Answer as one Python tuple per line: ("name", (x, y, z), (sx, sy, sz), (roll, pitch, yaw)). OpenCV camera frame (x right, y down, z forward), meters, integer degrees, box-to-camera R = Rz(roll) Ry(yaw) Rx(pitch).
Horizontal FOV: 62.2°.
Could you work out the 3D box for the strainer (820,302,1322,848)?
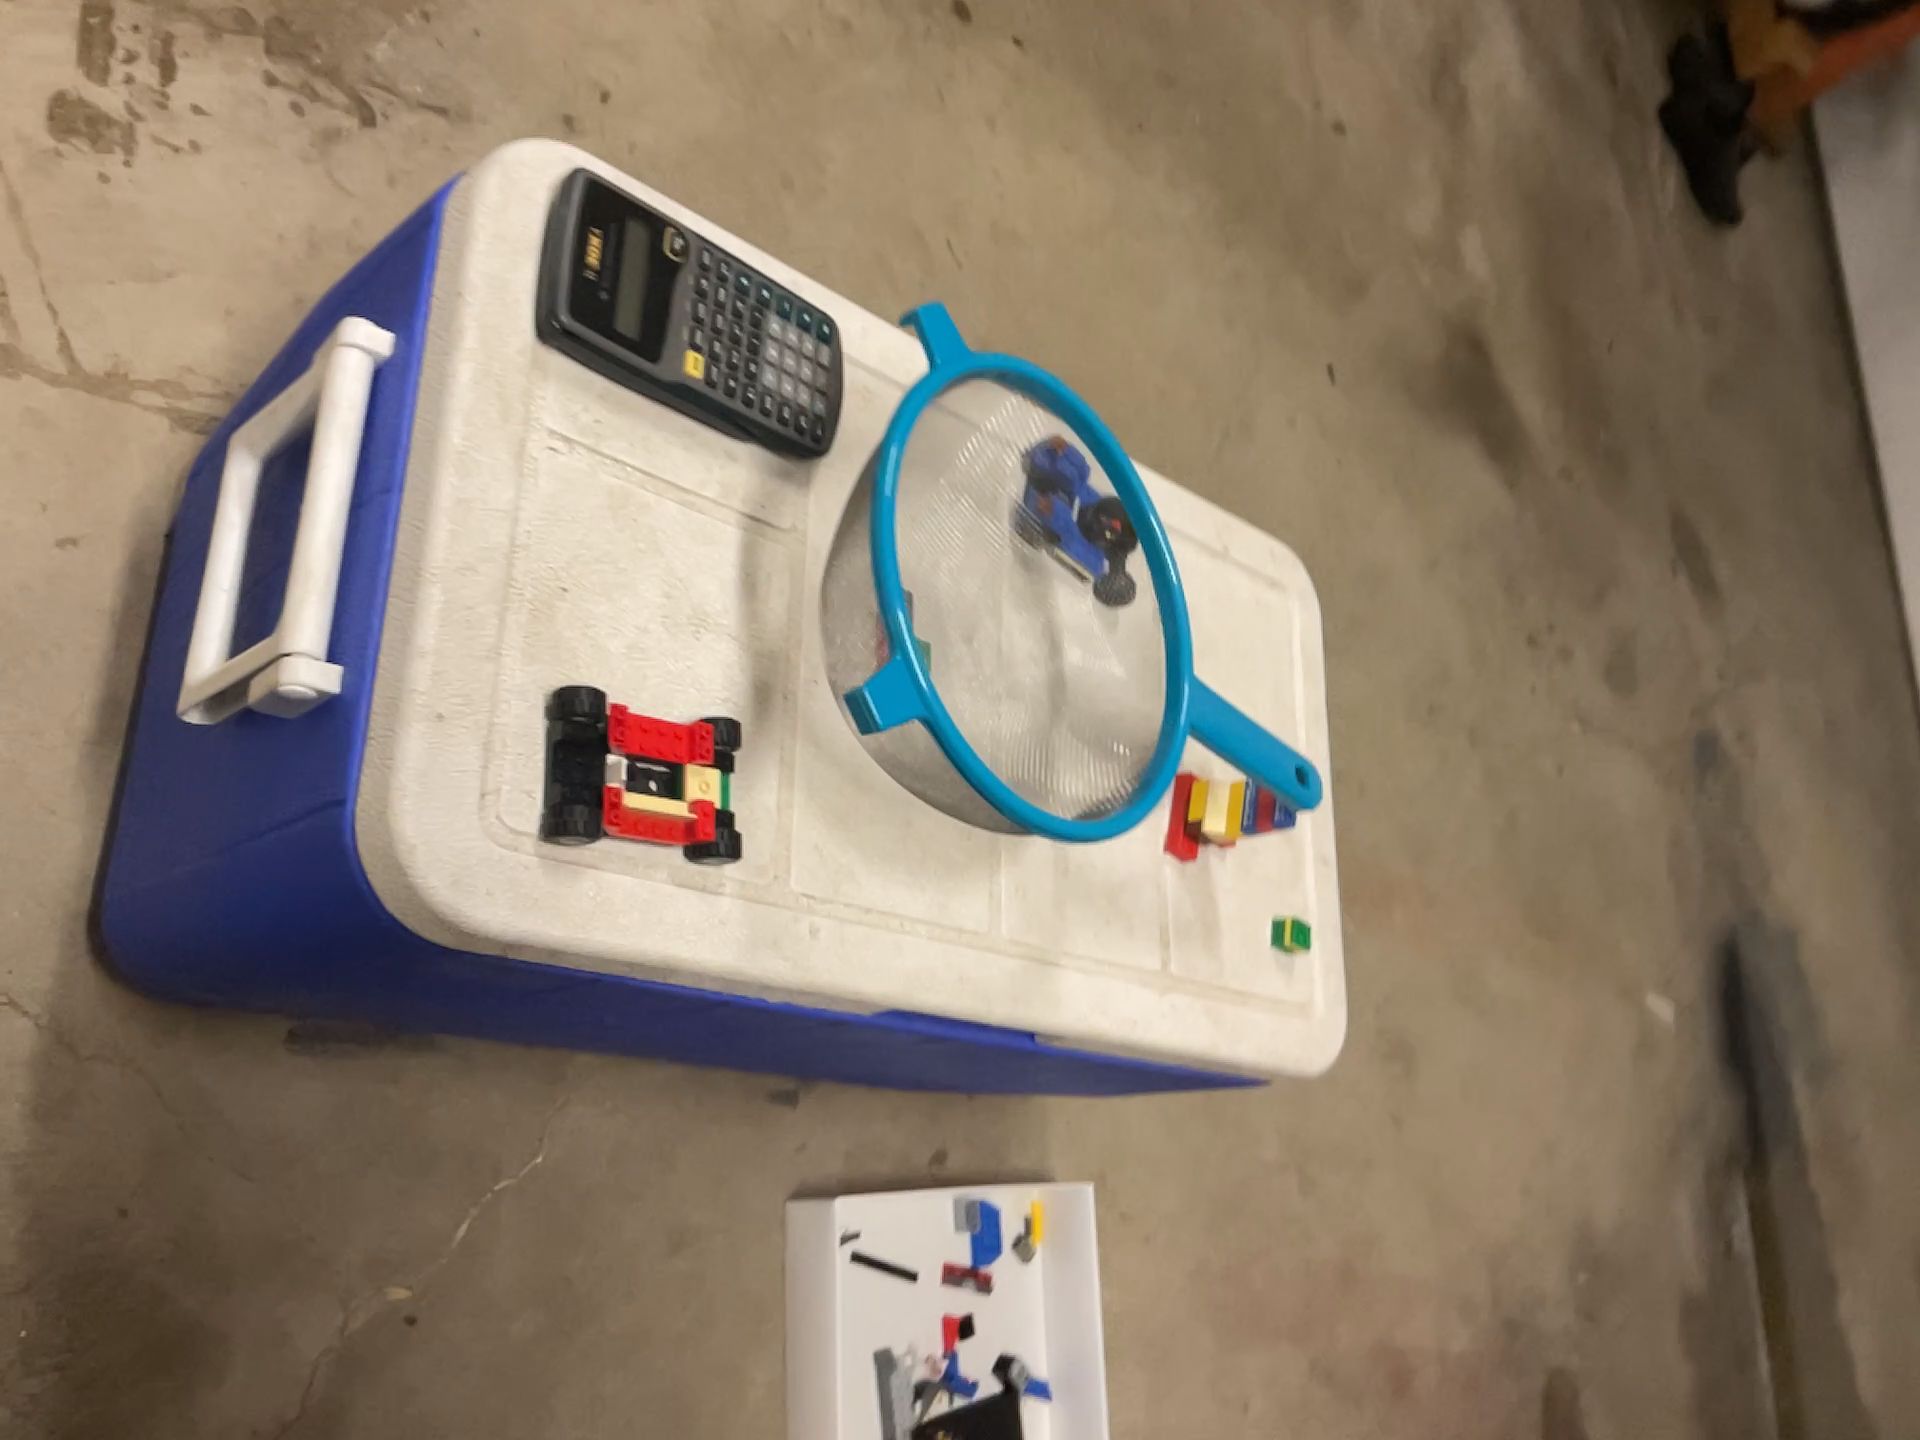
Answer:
("strainer", (0.047, -0.019, 0.732), (0.340, 0.095, 0.211), (32, 55, -42))
